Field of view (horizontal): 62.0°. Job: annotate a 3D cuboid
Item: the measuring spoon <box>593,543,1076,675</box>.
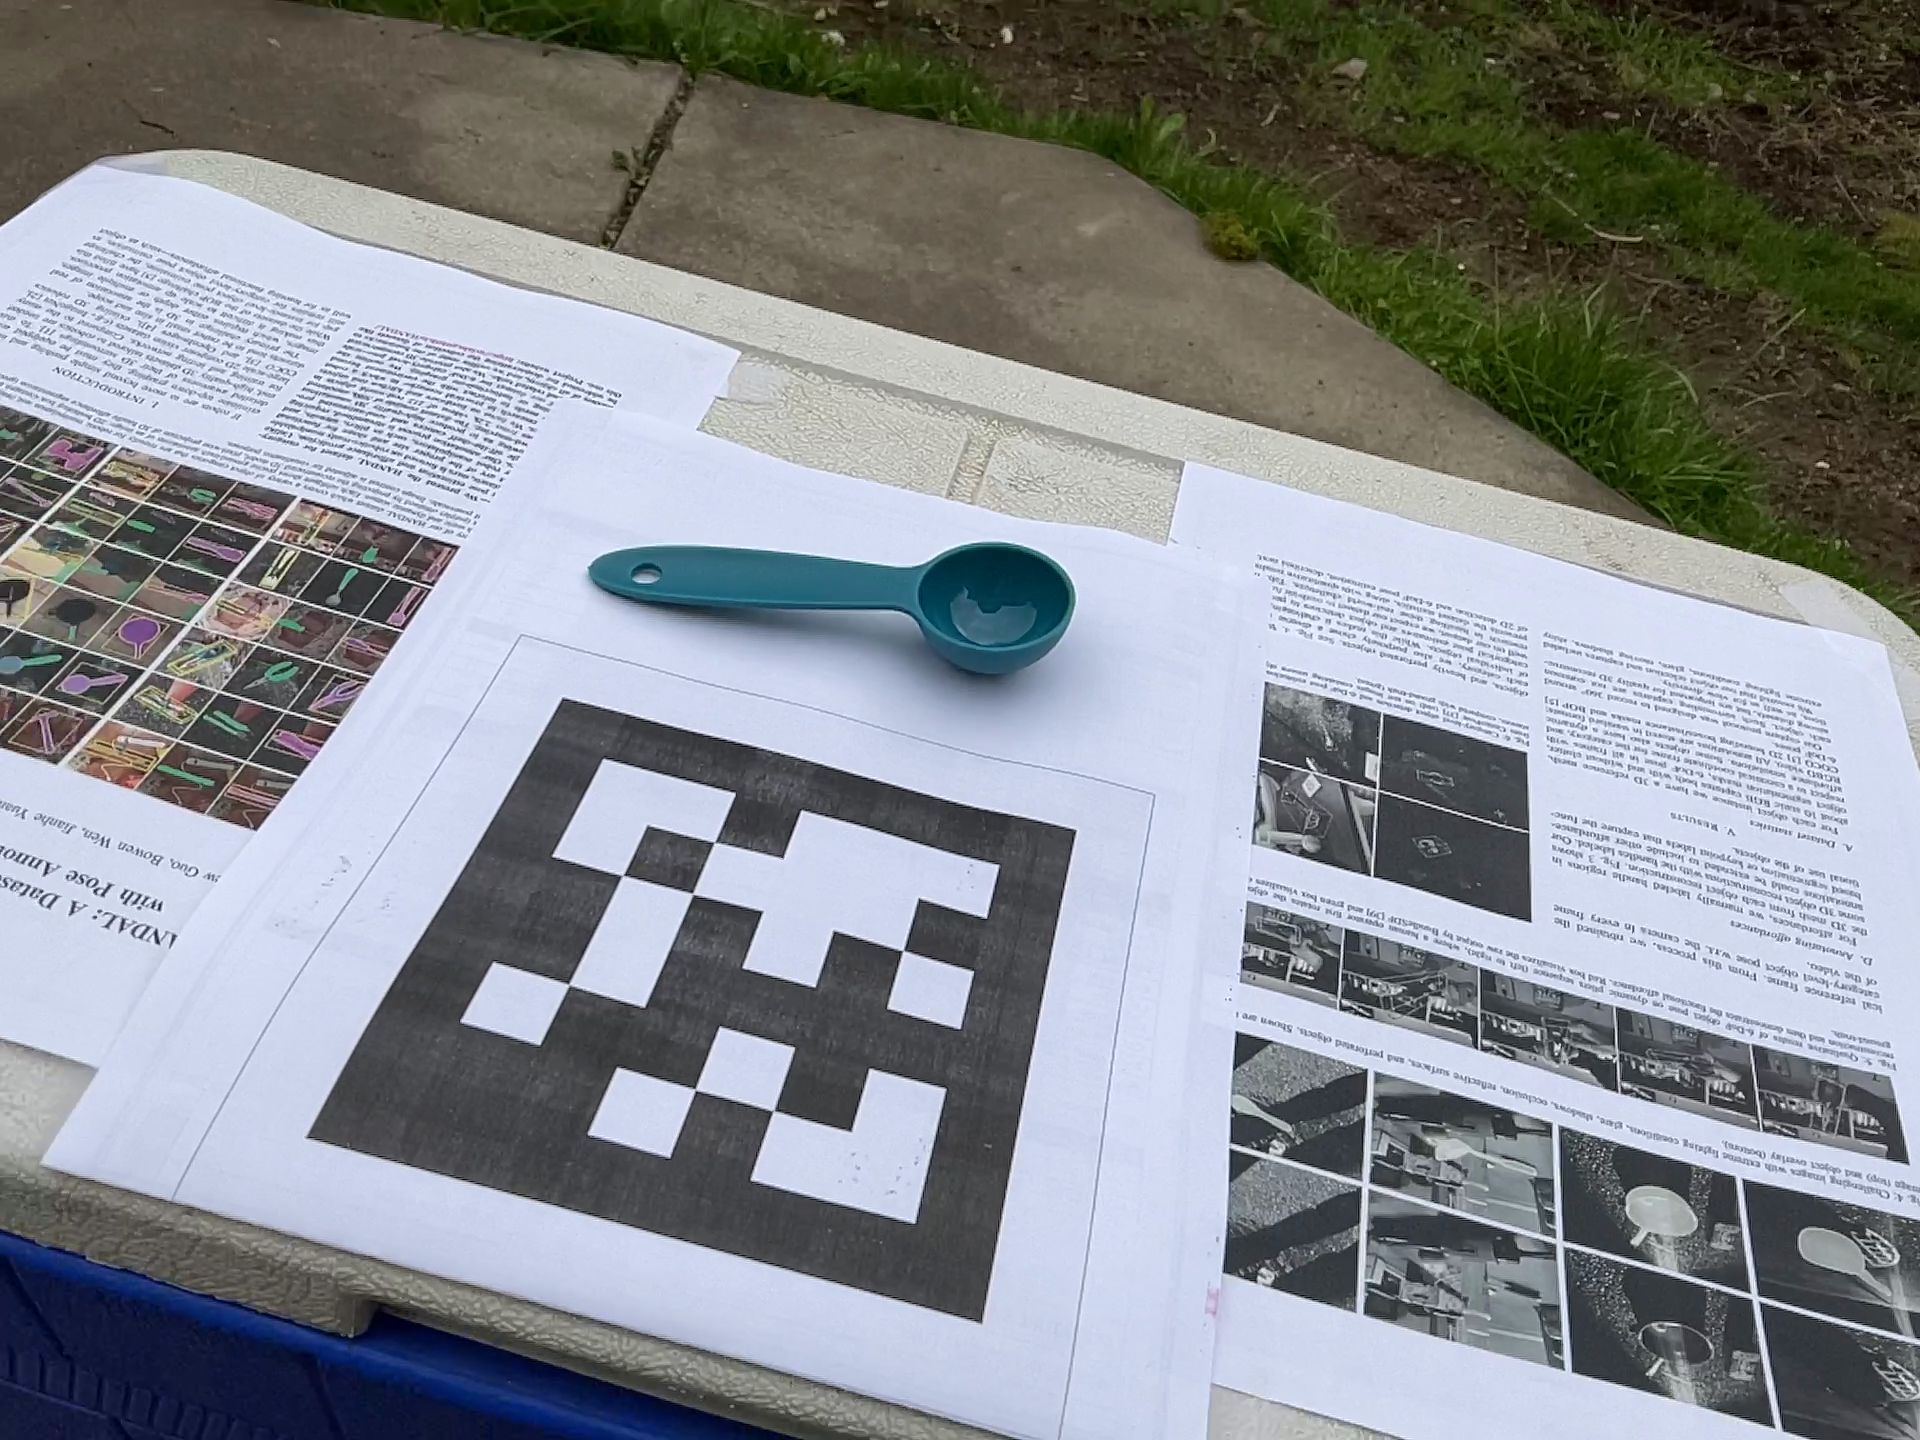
[{"bbox_3d":[-0.034,-0.030,0.425,0.128,0.021,0.042,5,46,6],"label":"measuring spoon"}]
